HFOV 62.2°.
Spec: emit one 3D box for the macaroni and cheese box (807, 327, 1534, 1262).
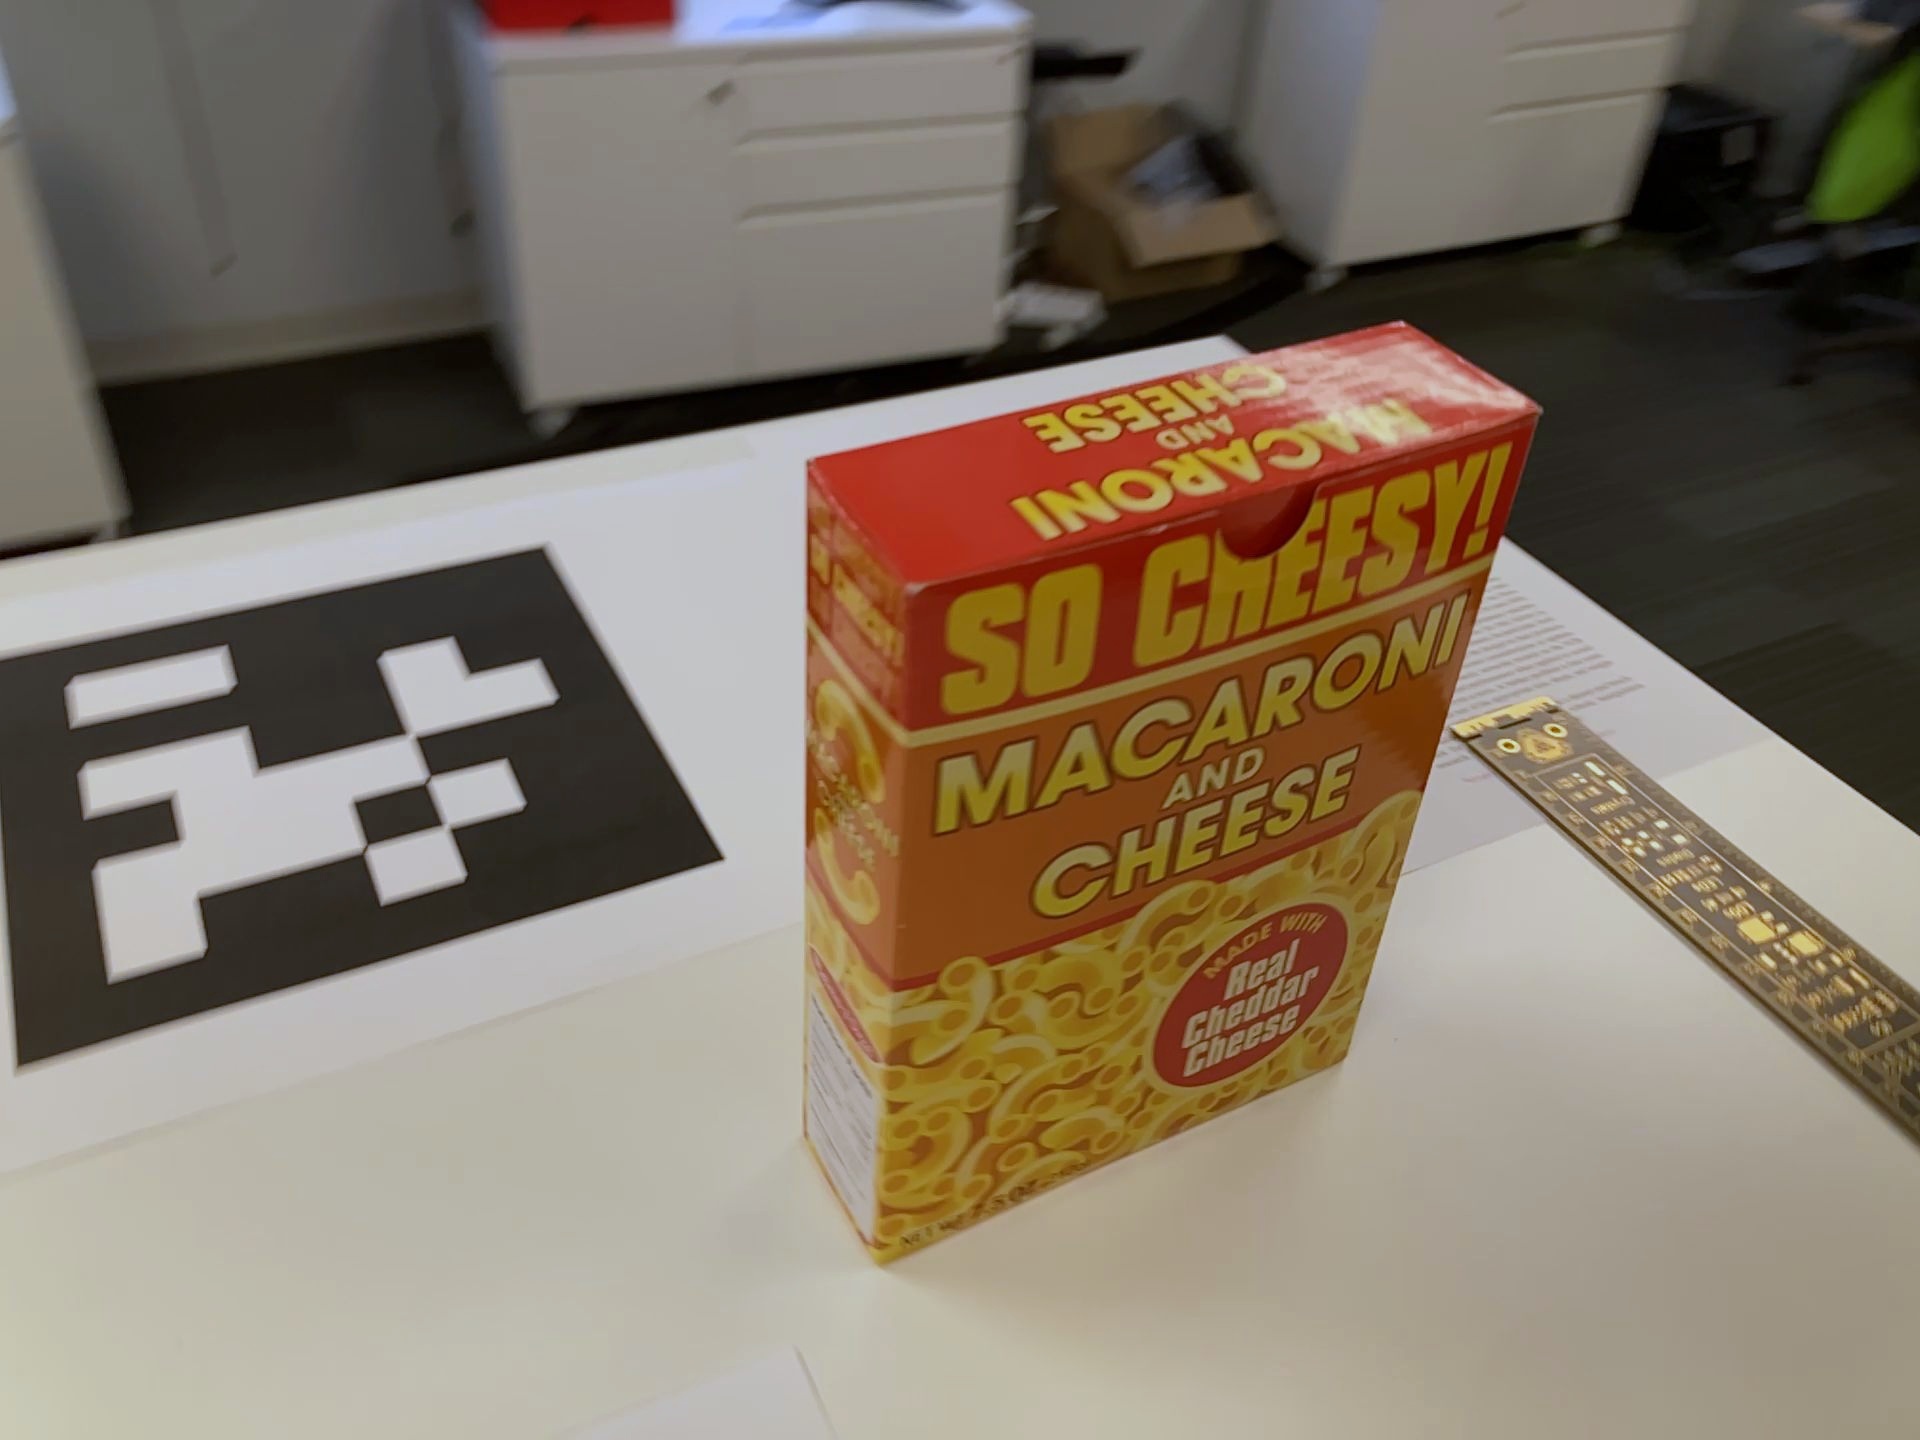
[{"bbox_3d":[0.034,0.018,0.307,0.124,0.166,0.040,-17,43,-25],"label":"macaroni and cheese box"}]
